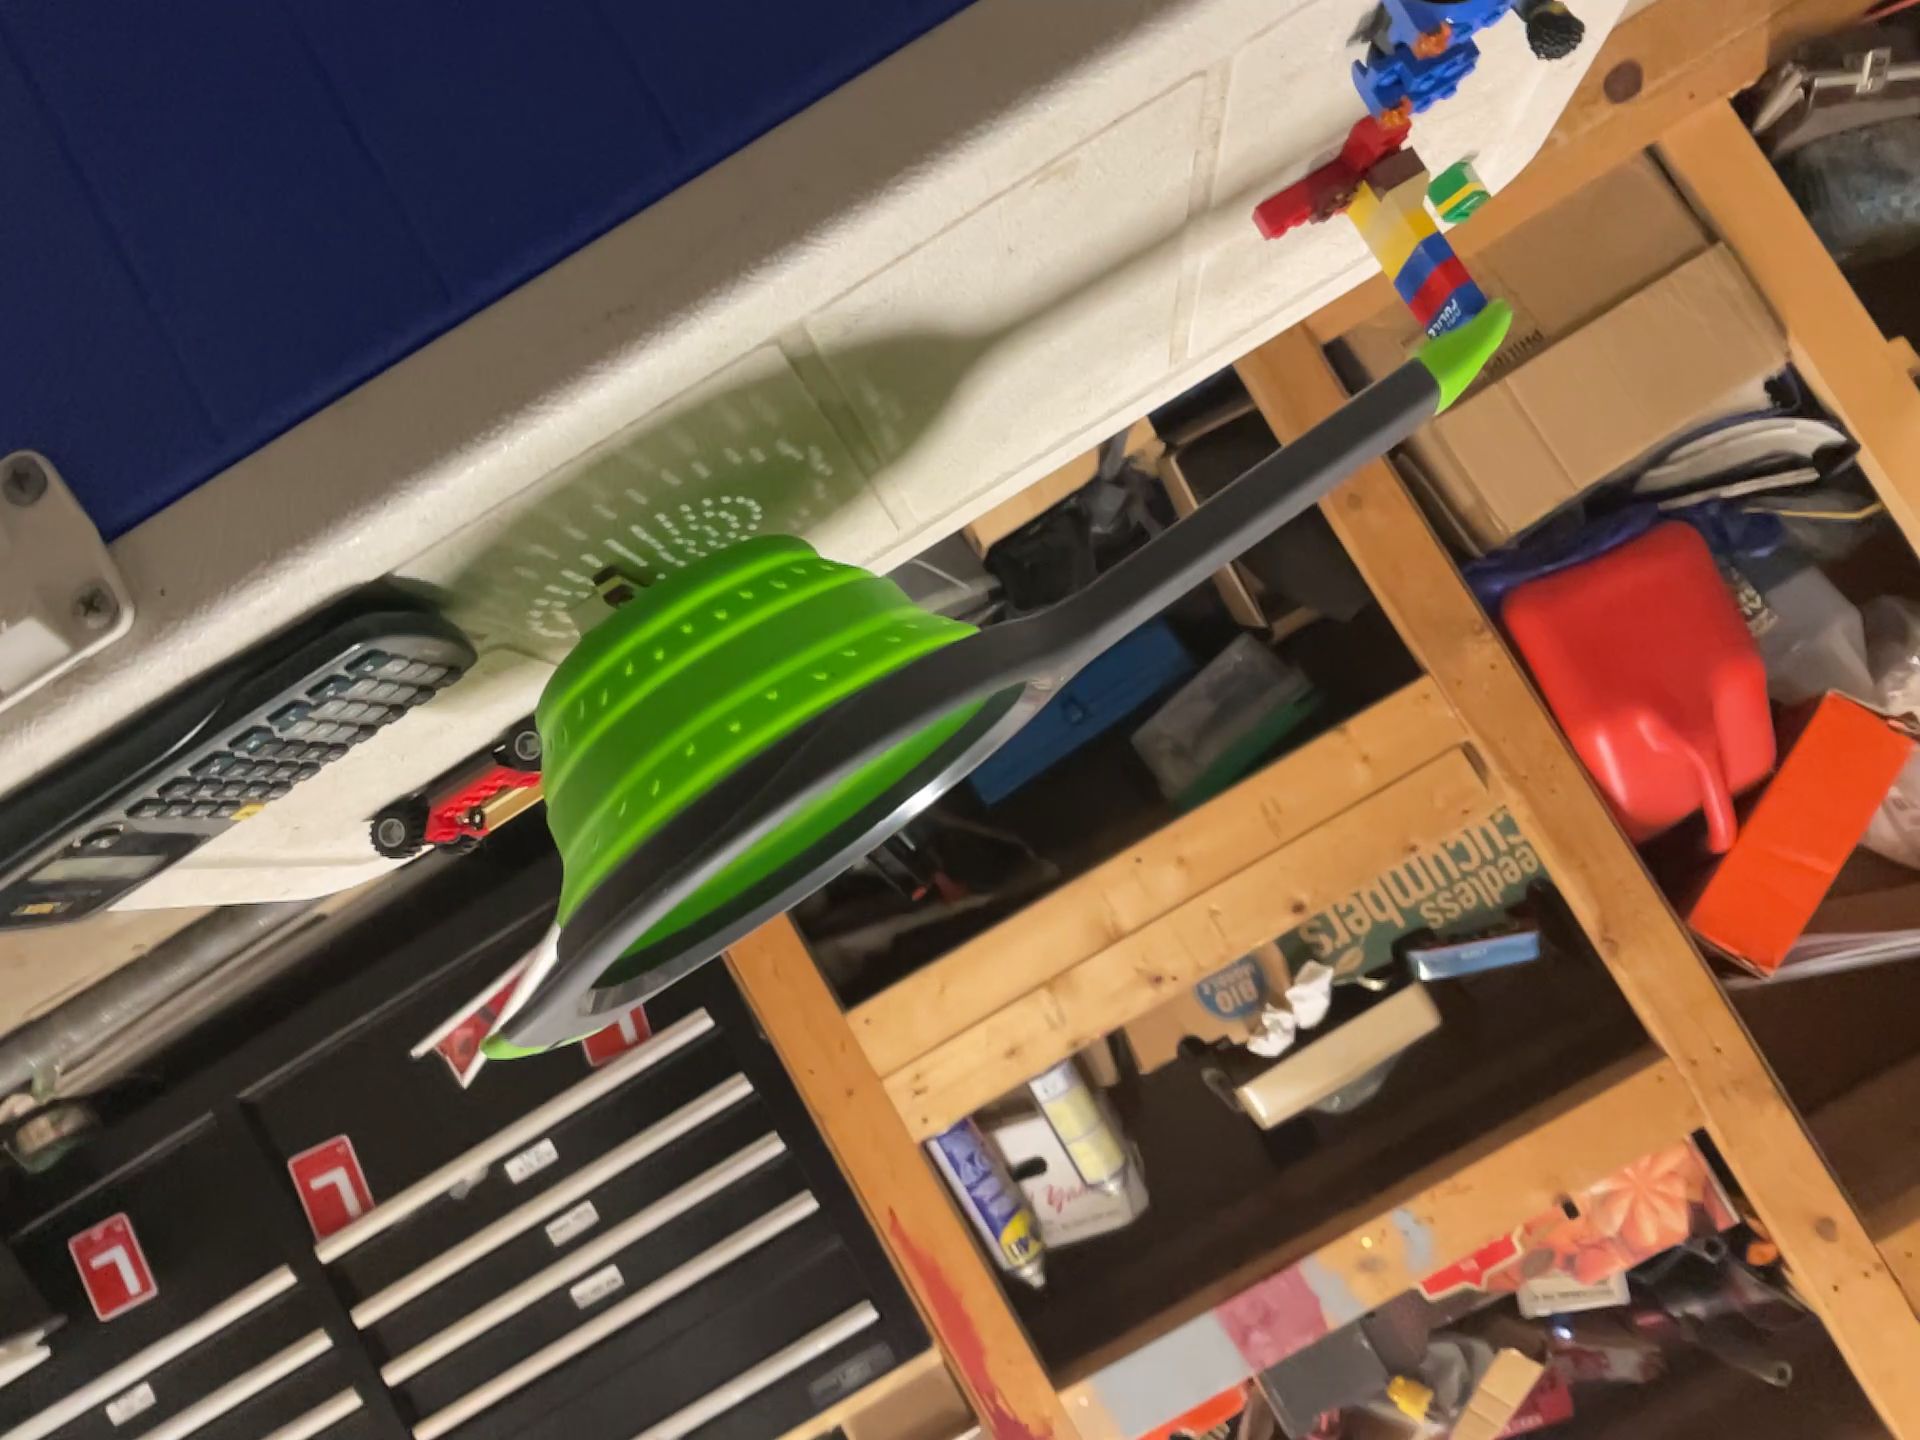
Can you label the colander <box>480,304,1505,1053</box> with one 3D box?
[{"bbox_3d":[-0.004,-0.042,0.531,0.397,0.094,0.204,-36,171,0],"label":"colander"}]
